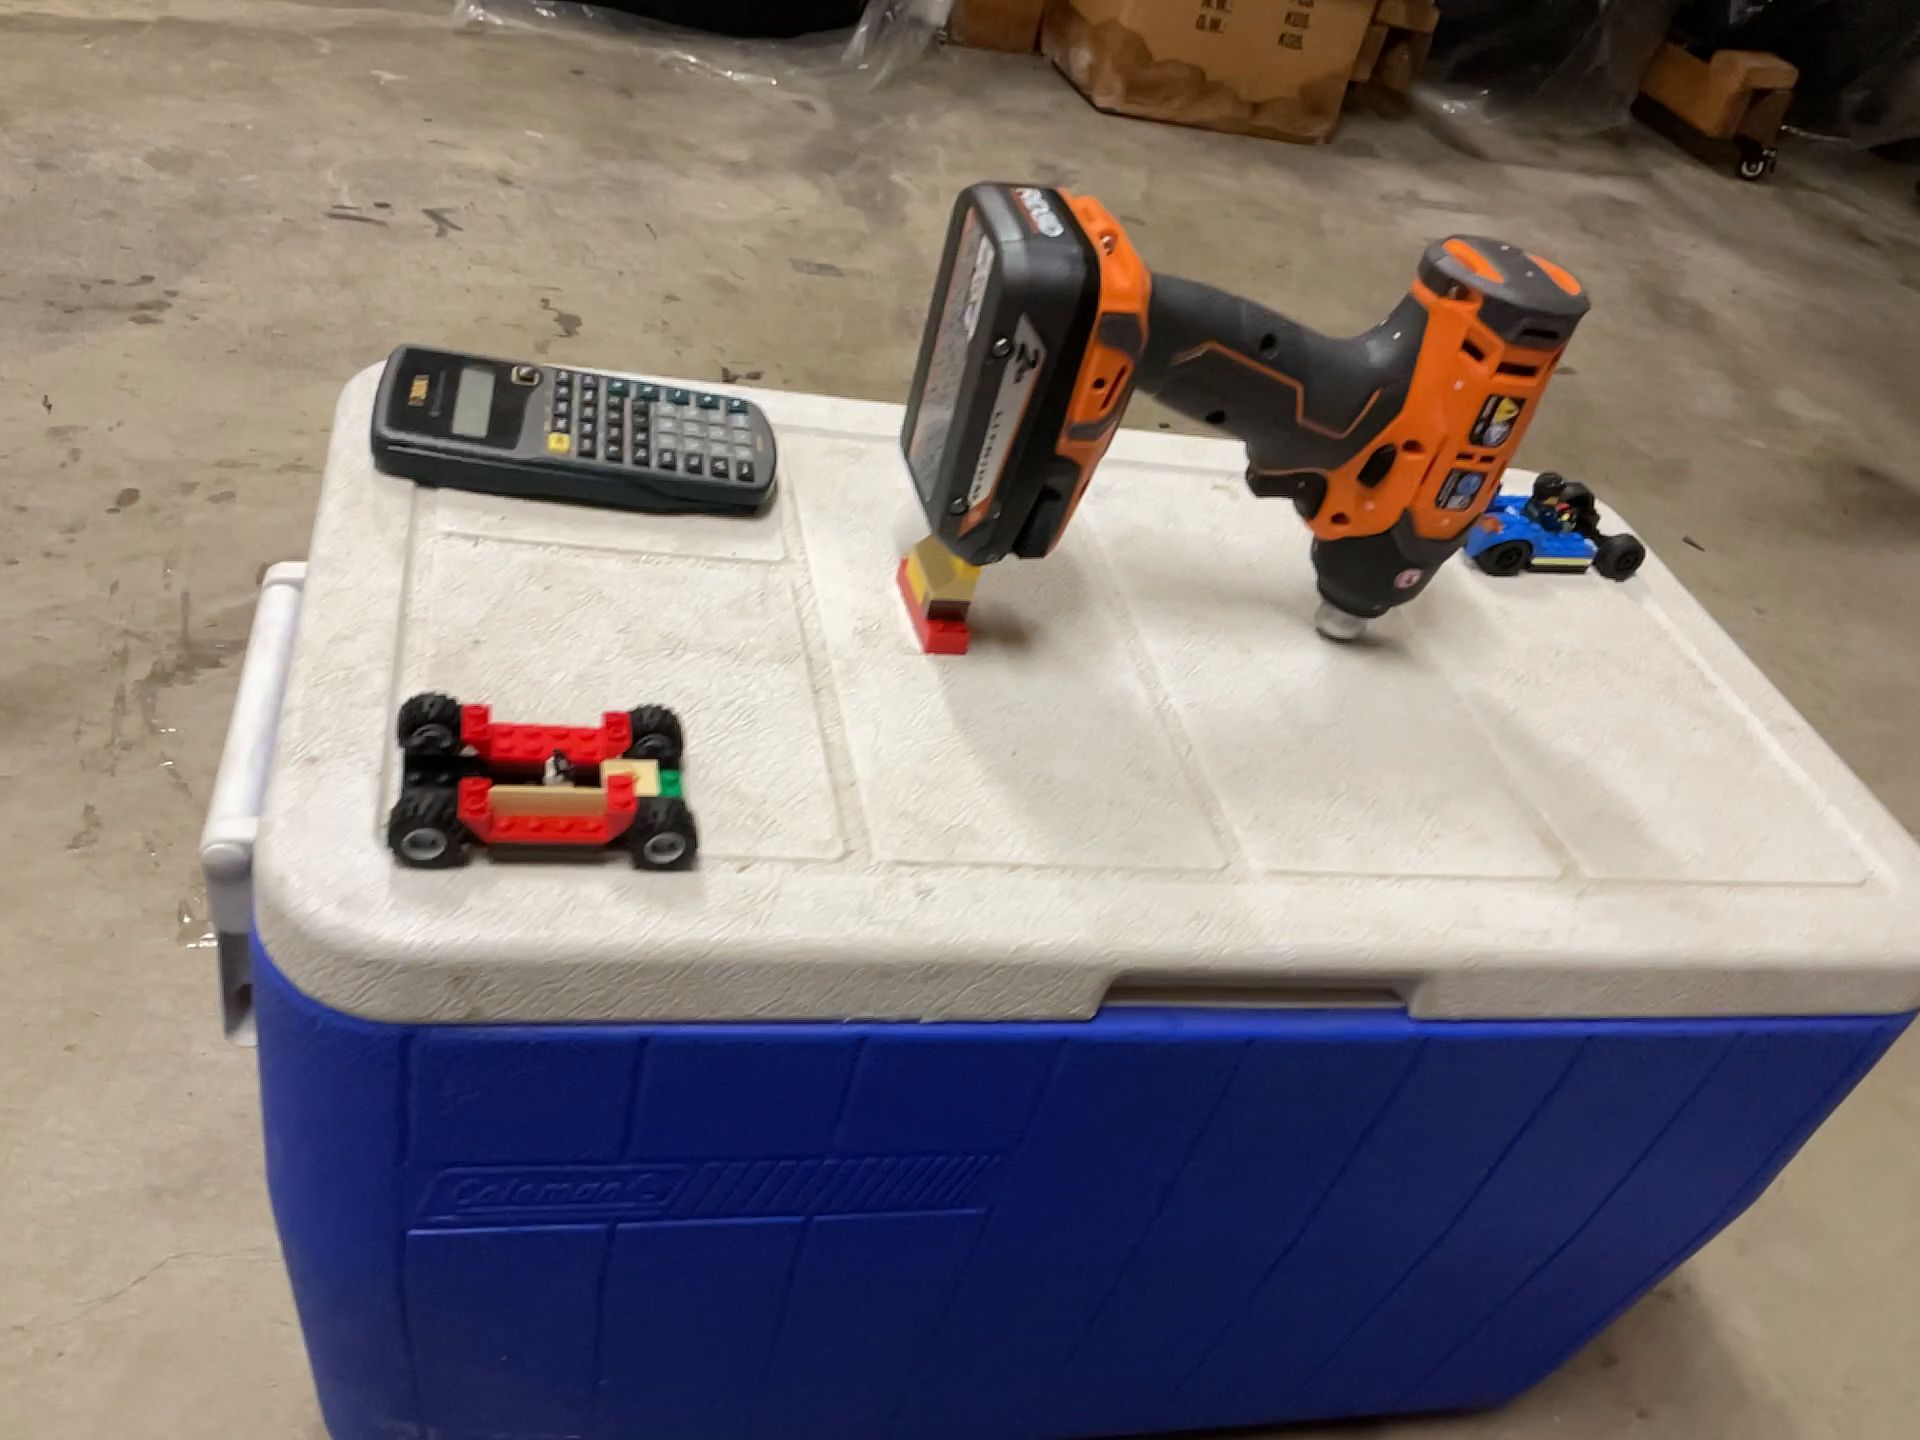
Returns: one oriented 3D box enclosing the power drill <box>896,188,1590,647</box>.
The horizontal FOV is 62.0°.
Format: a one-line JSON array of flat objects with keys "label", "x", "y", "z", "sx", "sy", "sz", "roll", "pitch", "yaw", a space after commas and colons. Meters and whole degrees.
[{"label": "power drill", "x": 0.098, "y": -0.101, "z": 0.585, "sx": 0.226, "sy": 0.164, "sz": 0.084, "roll": 3, "pitch": 38, "yaw": -18}]
